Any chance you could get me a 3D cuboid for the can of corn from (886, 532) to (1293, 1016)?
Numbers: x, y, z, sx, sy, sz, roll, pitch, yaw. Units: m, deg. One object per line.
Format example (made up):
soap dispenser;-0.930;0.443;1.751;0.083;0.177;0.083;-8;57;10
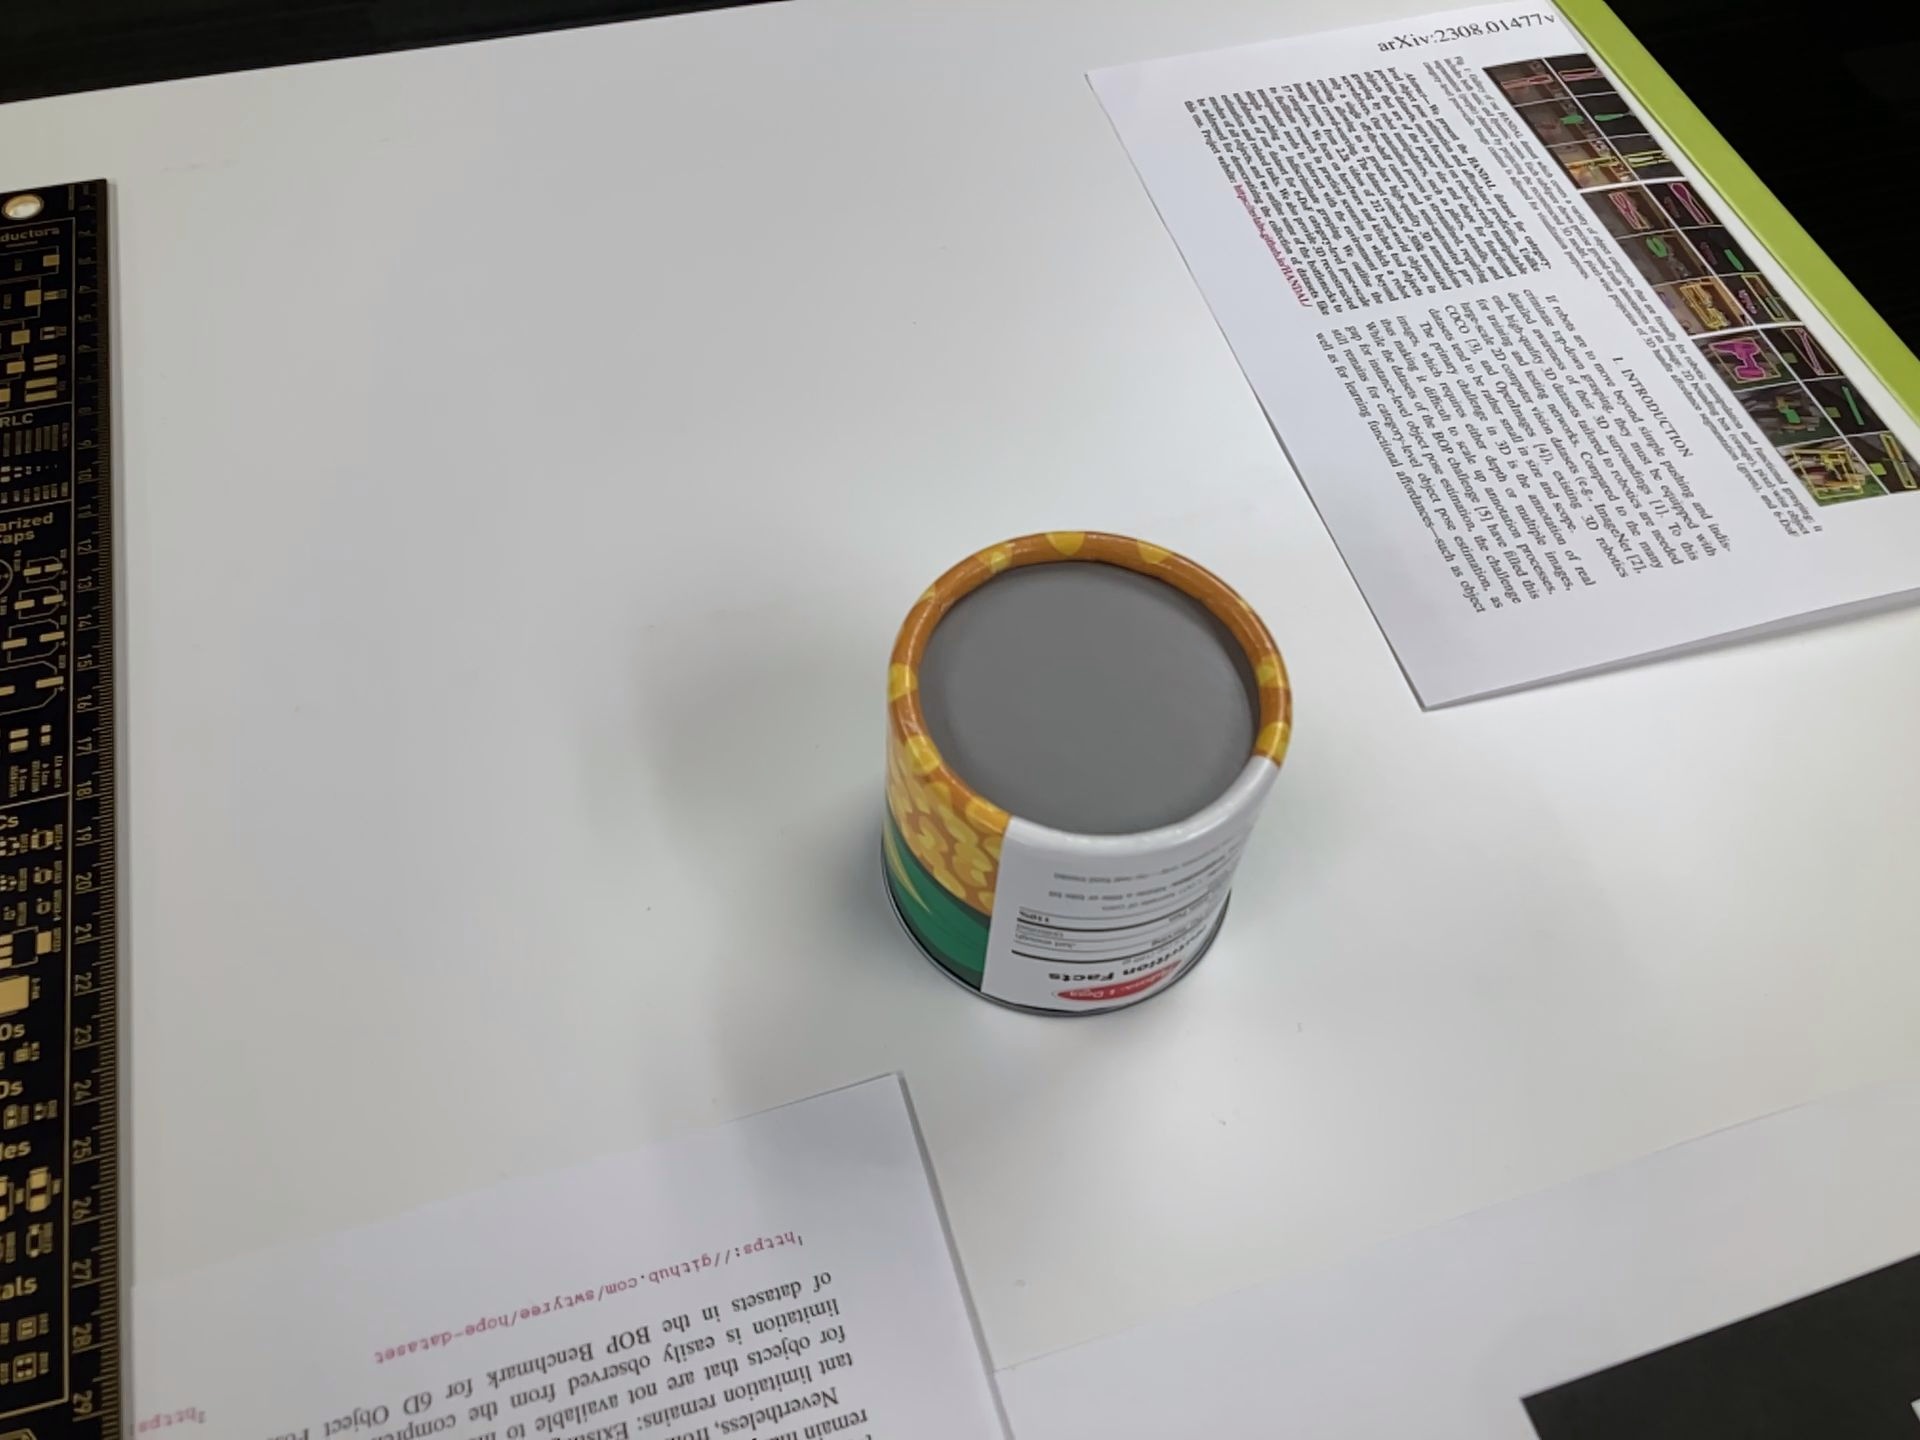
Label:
can of corn;0.019;0.008;0.280;0.071;0.058;0.071;2;56;-2
